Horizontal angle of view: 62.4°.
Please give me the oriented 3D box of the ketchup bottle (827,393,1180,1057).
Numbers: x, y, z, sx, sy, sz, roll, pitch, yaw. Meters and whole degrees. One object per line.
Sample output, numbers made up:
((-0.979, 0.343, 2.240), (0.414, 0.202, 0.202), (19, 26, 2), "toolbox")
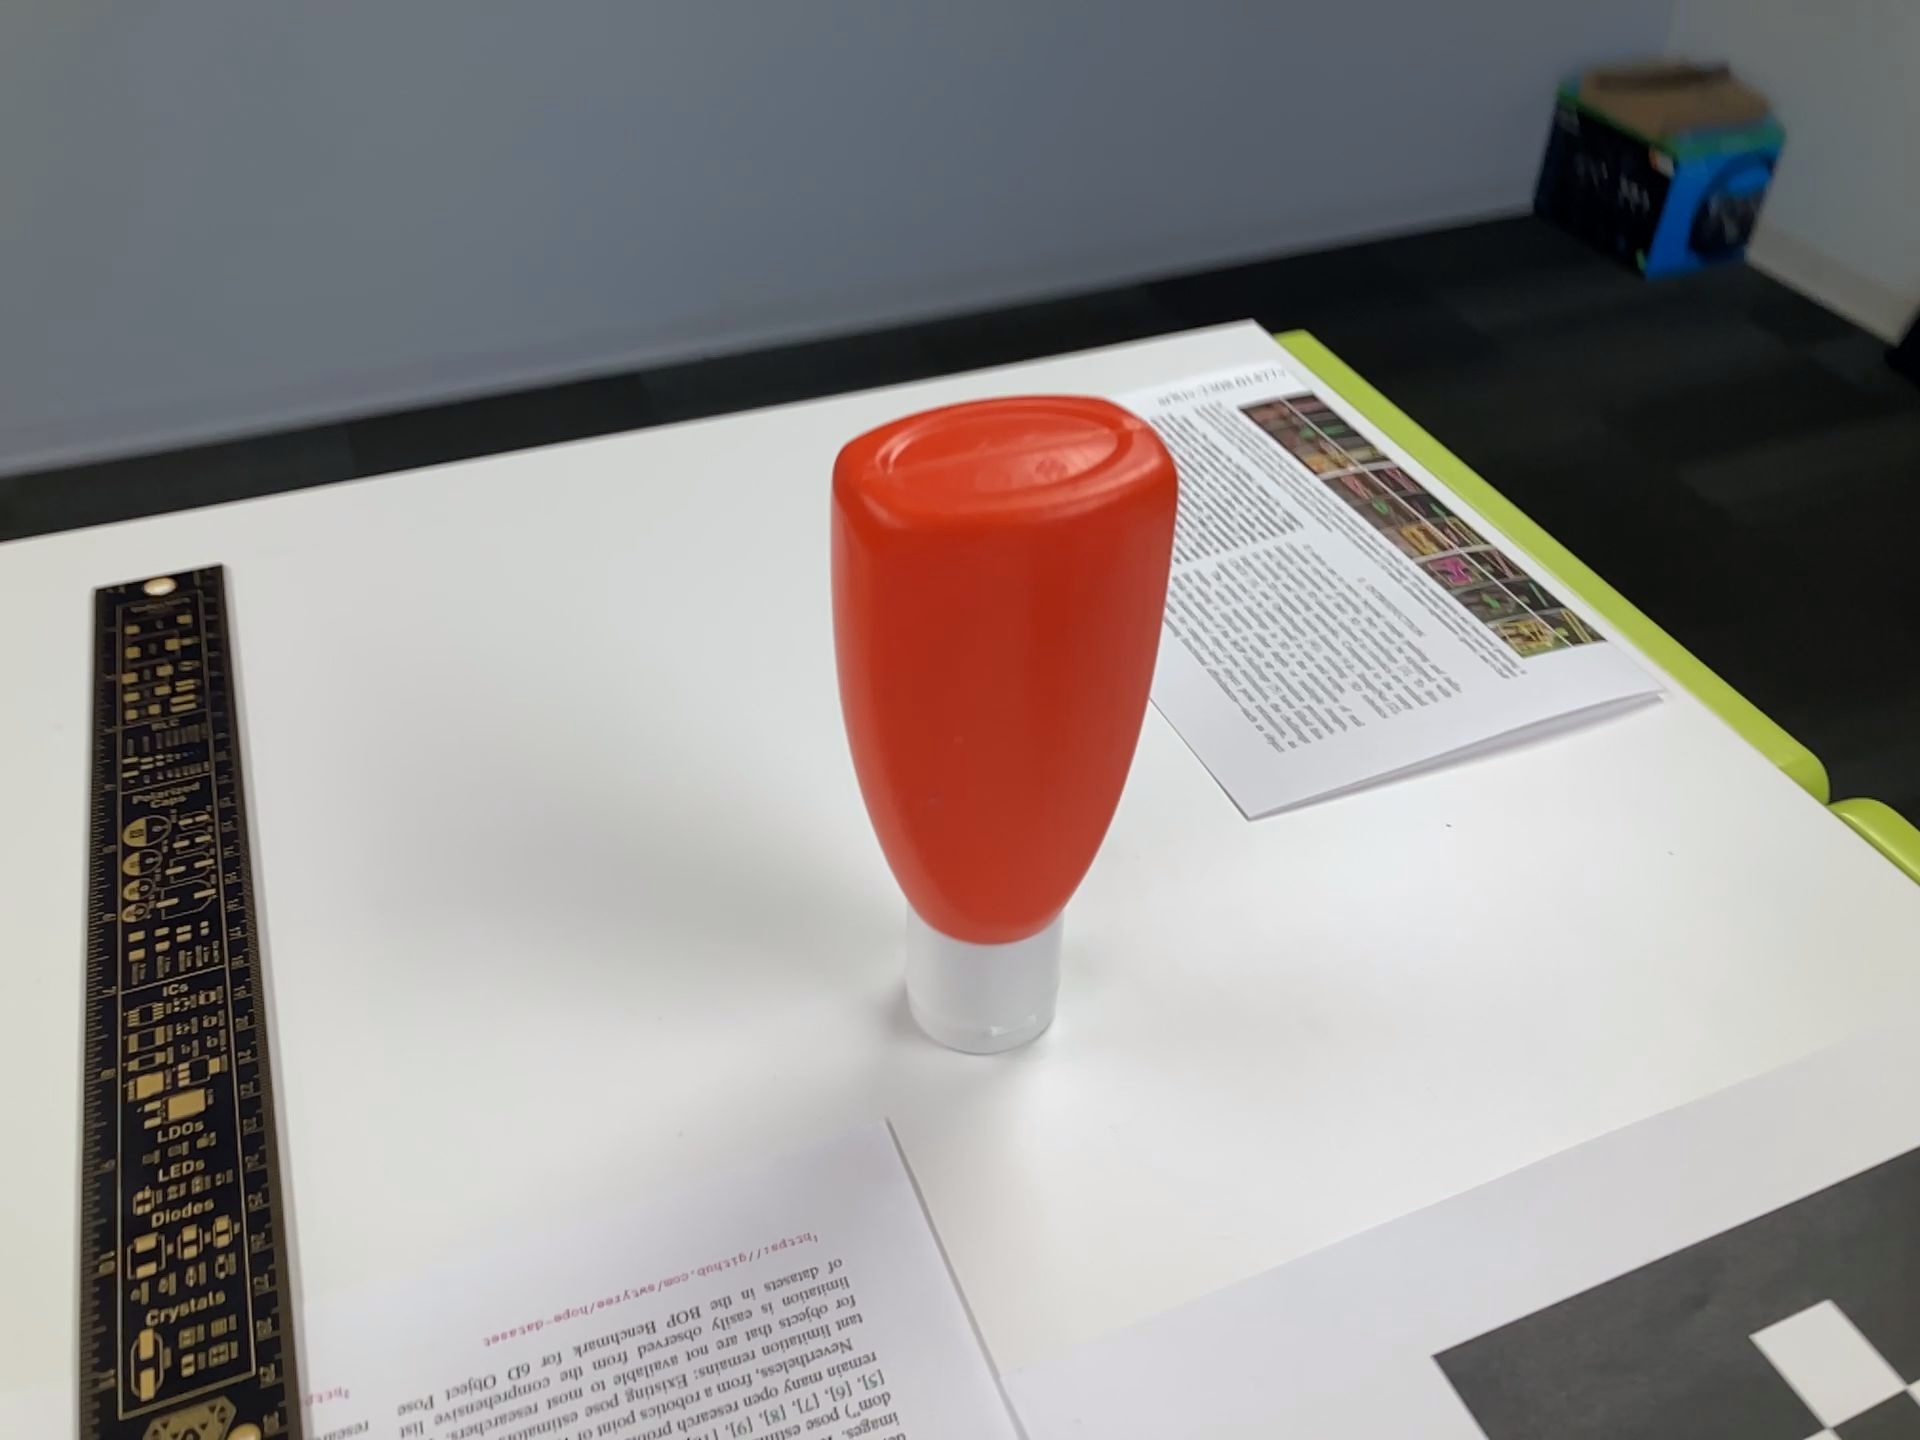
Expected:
((0.007, 0.009, 0.327), (0.065, 0.149, 0.043), (-13, 41, -17), "ketchup bottle")
